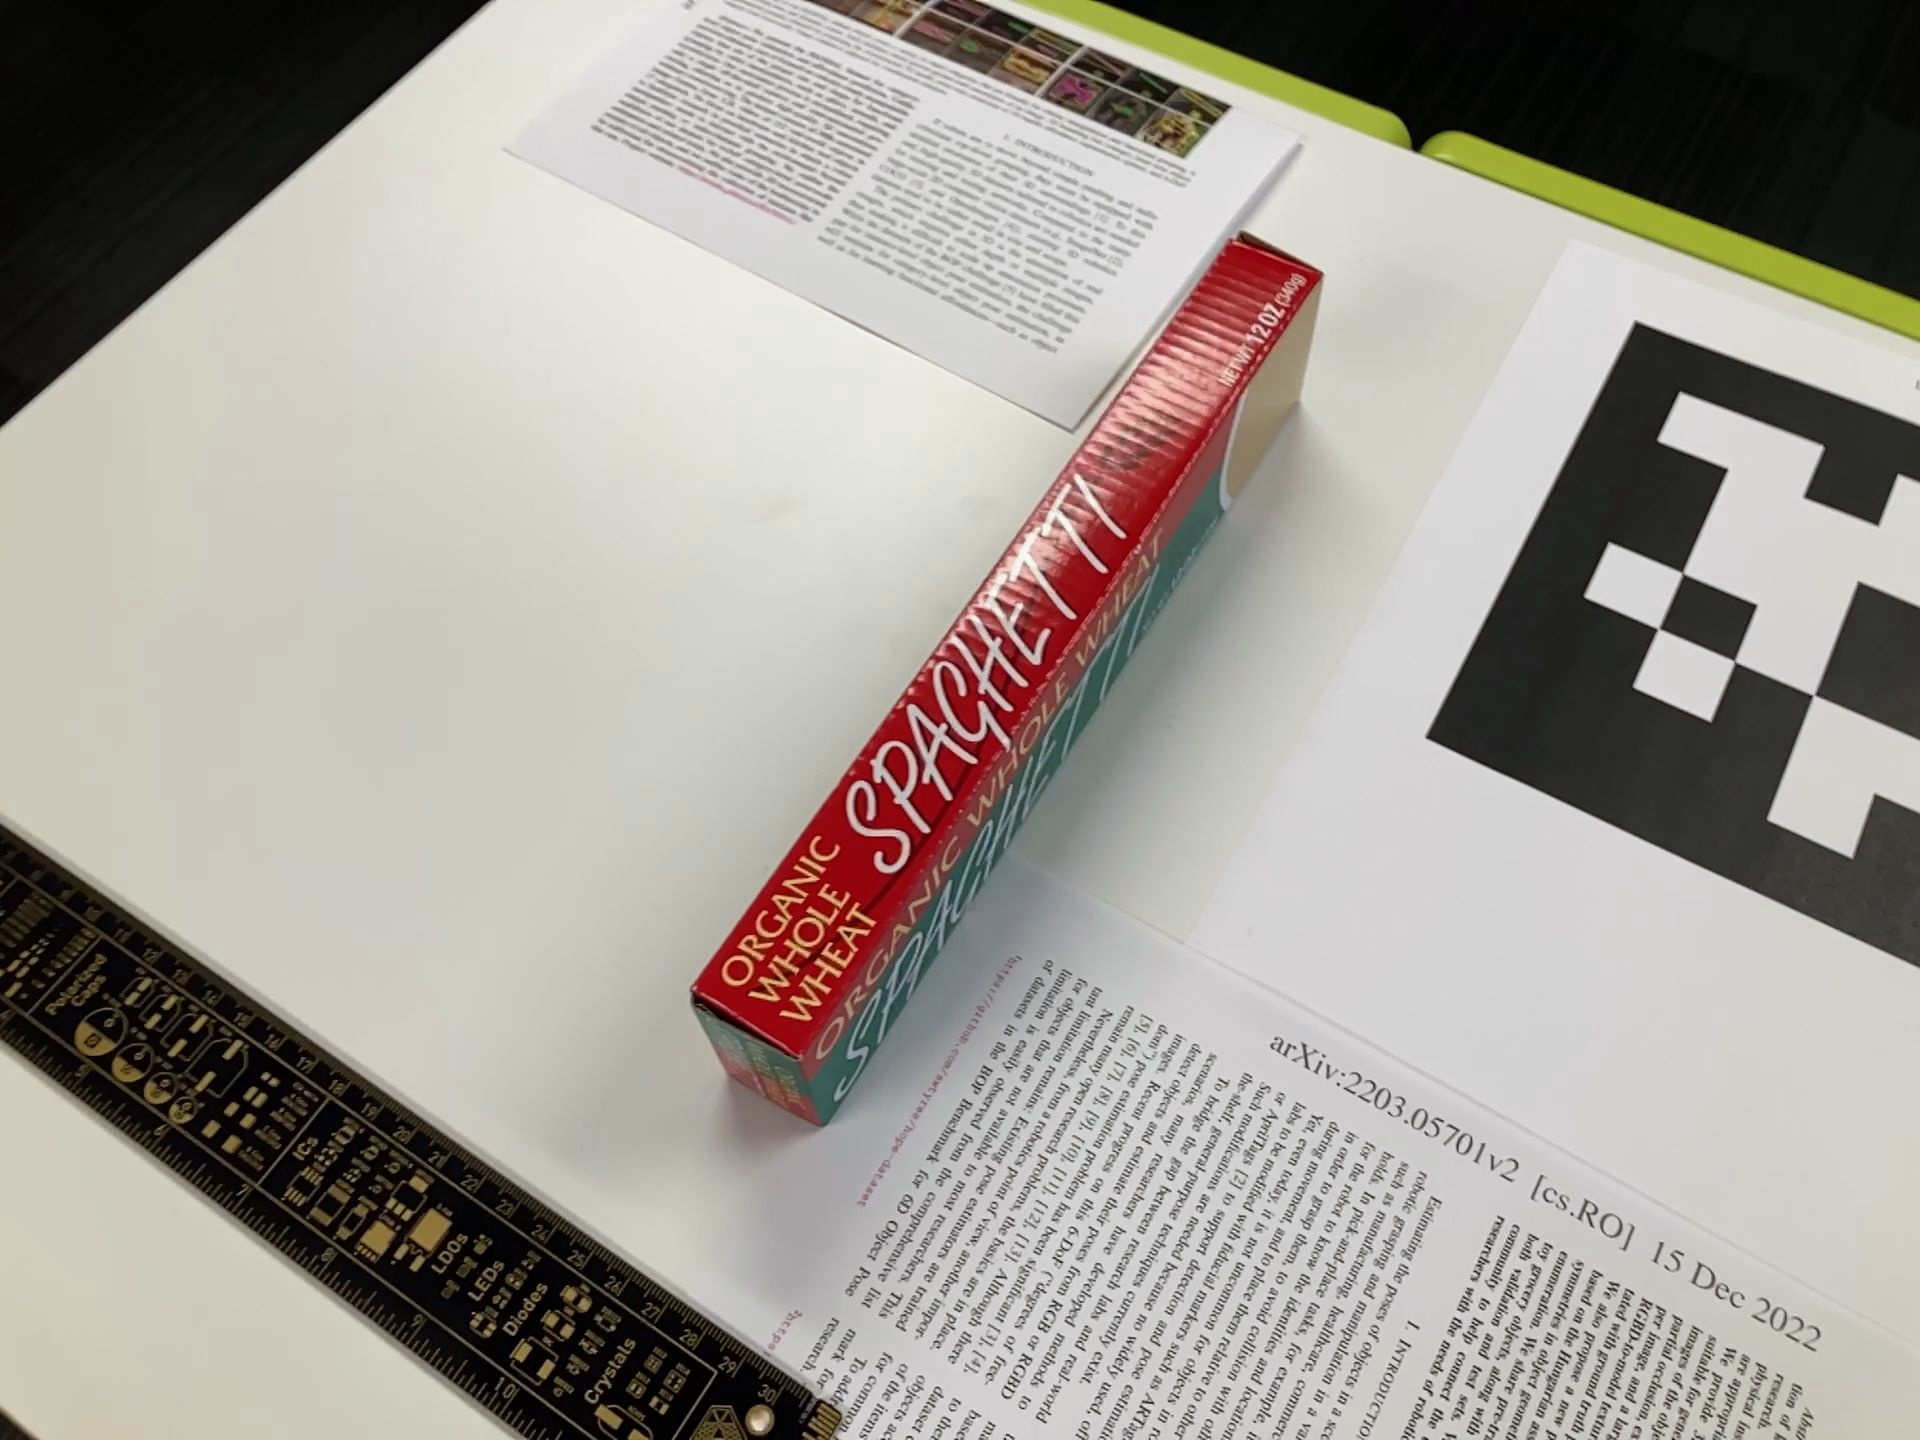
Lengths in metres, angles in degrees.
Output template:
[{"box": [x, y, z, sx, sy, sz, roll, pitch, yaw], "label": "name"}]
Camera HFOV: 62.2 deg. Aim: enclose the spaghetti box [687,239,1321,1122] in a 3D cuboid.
[{"box": [0.020, -0.018, 0.391, 0.028, 0.050, 0.250, 26, 65, 18], "label": "spaghetti box"}]
